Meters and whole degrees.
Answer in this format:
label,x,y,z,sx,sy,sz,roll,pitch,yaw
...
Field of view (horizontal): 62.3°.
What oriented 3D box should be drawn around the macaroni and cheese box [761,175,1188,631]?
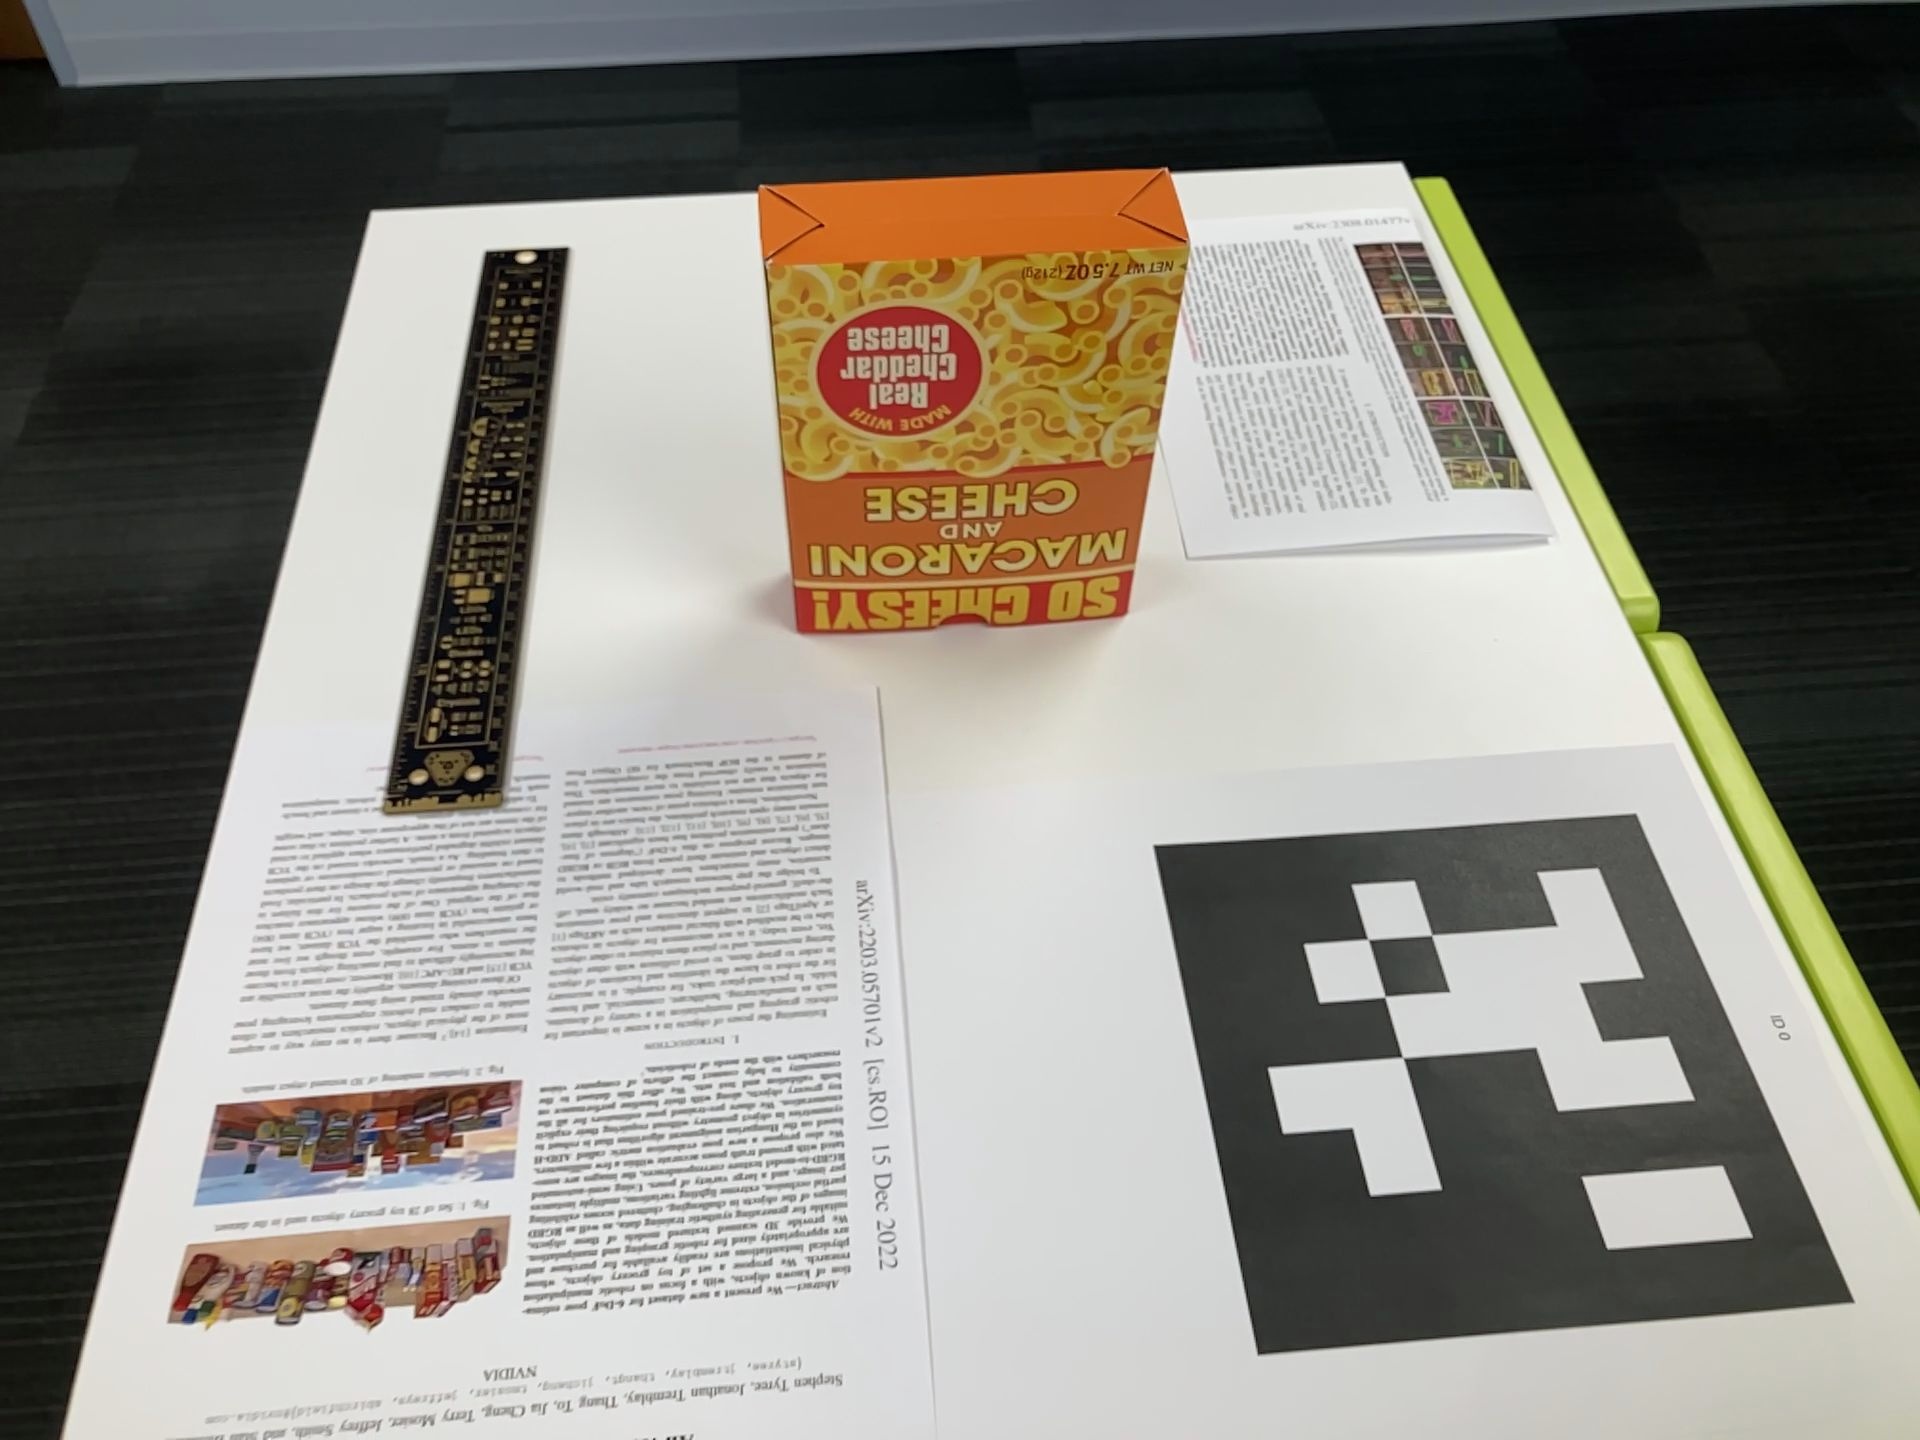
label,x,y,z,sx,sy,sz,roll,pitch,yaw
macaroni and cheese box,0.000,-0.097,0.530,0.124,0.166,0.040,-3,53,-4
